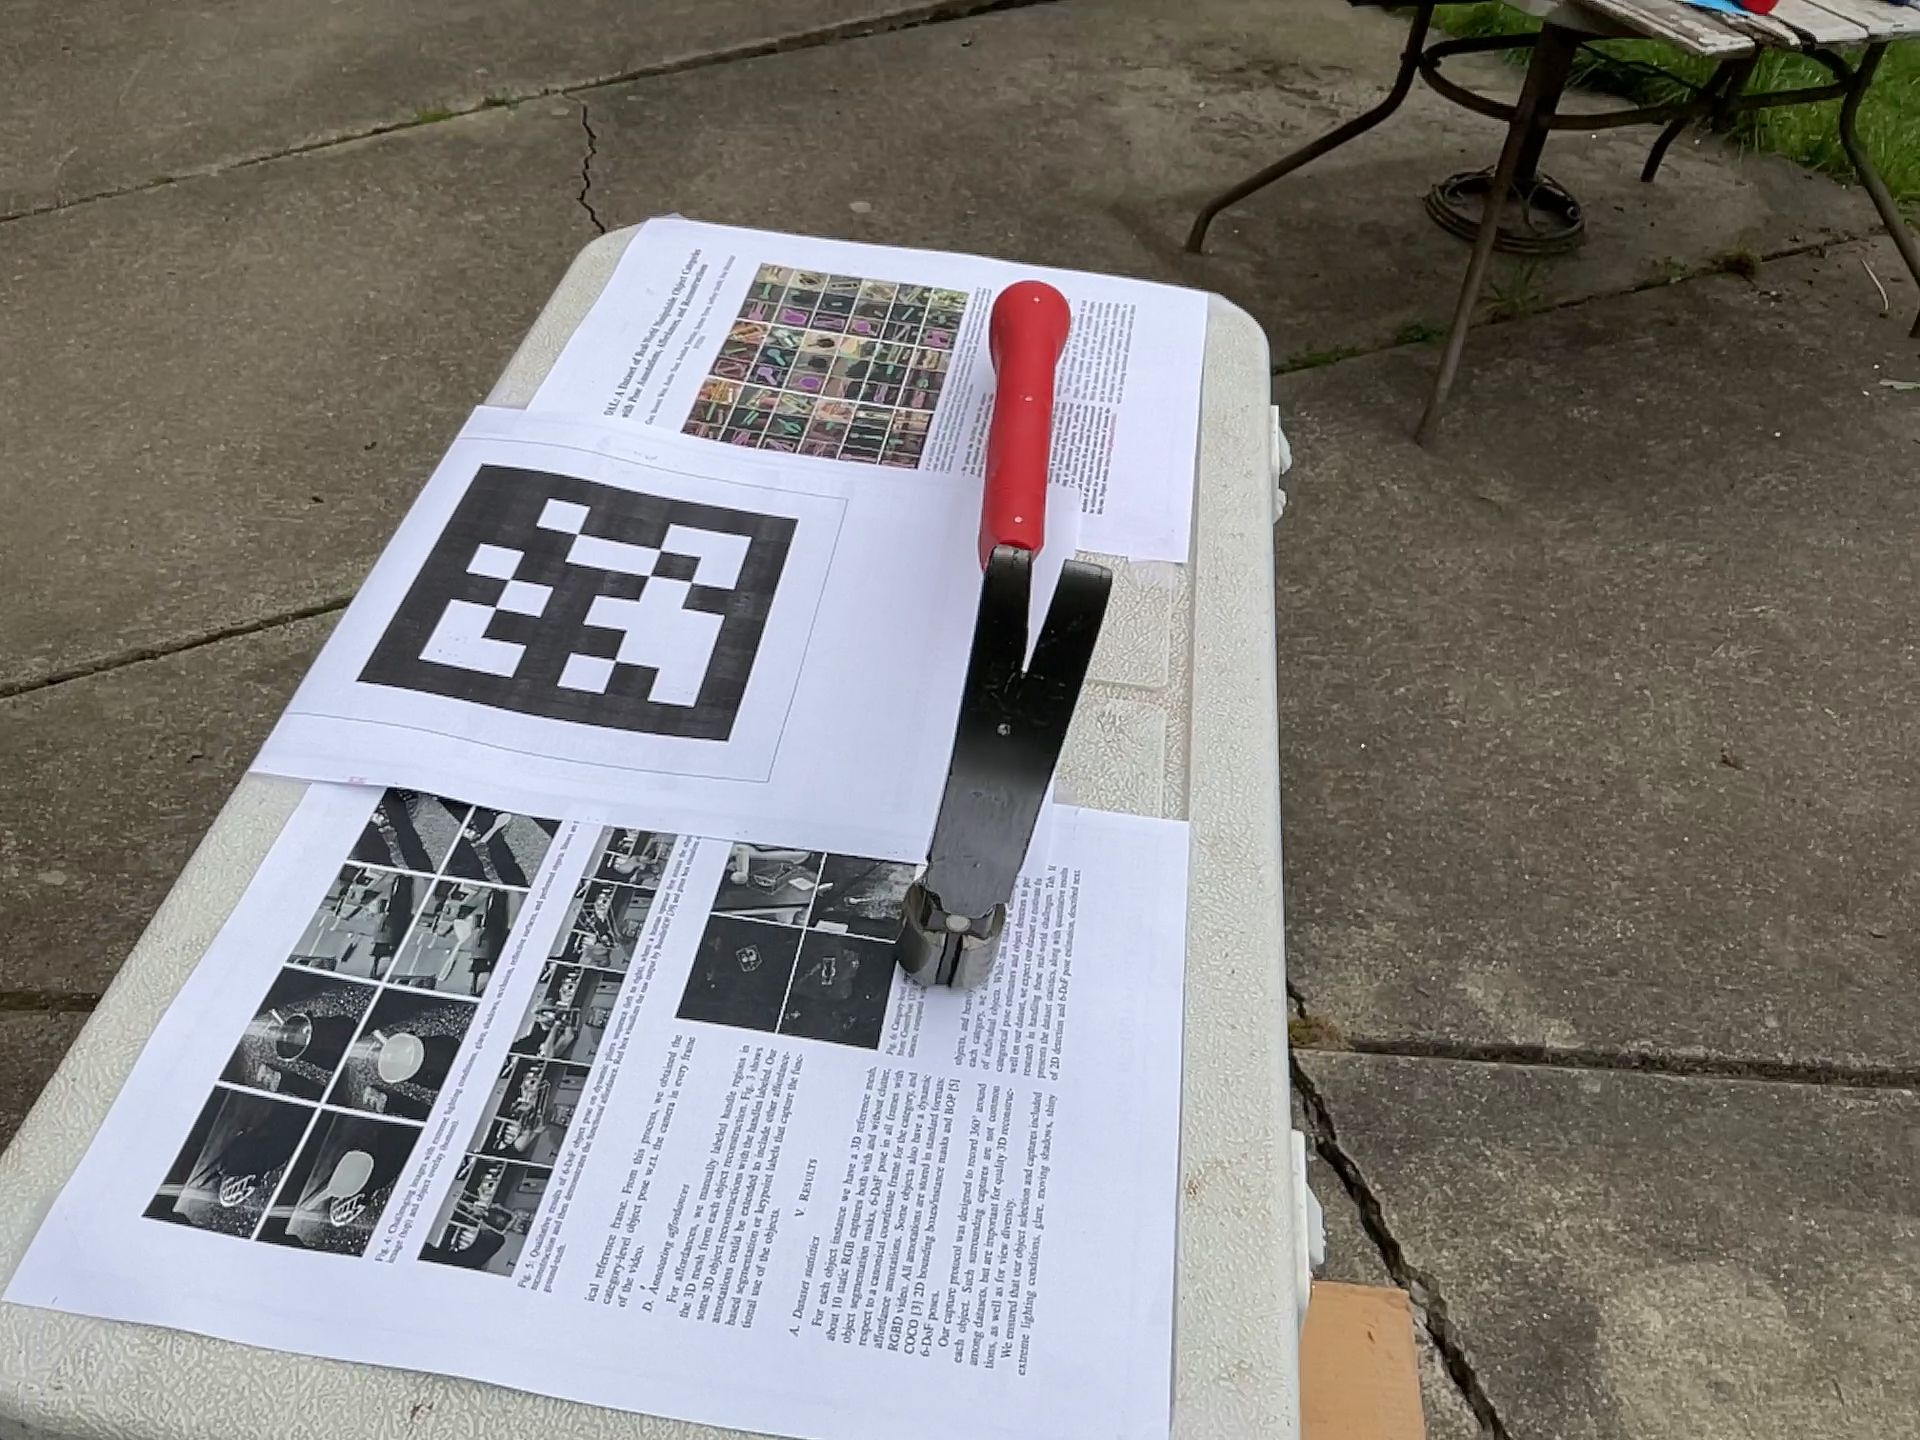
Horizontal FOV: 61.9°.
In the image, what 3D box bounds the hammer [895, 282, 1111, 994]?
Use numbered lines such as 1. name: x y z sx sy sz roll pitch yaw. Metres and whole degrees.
1. hammer: 0.021 -0.081 0.565 0.036 0.149 0.359 11 37 -3
